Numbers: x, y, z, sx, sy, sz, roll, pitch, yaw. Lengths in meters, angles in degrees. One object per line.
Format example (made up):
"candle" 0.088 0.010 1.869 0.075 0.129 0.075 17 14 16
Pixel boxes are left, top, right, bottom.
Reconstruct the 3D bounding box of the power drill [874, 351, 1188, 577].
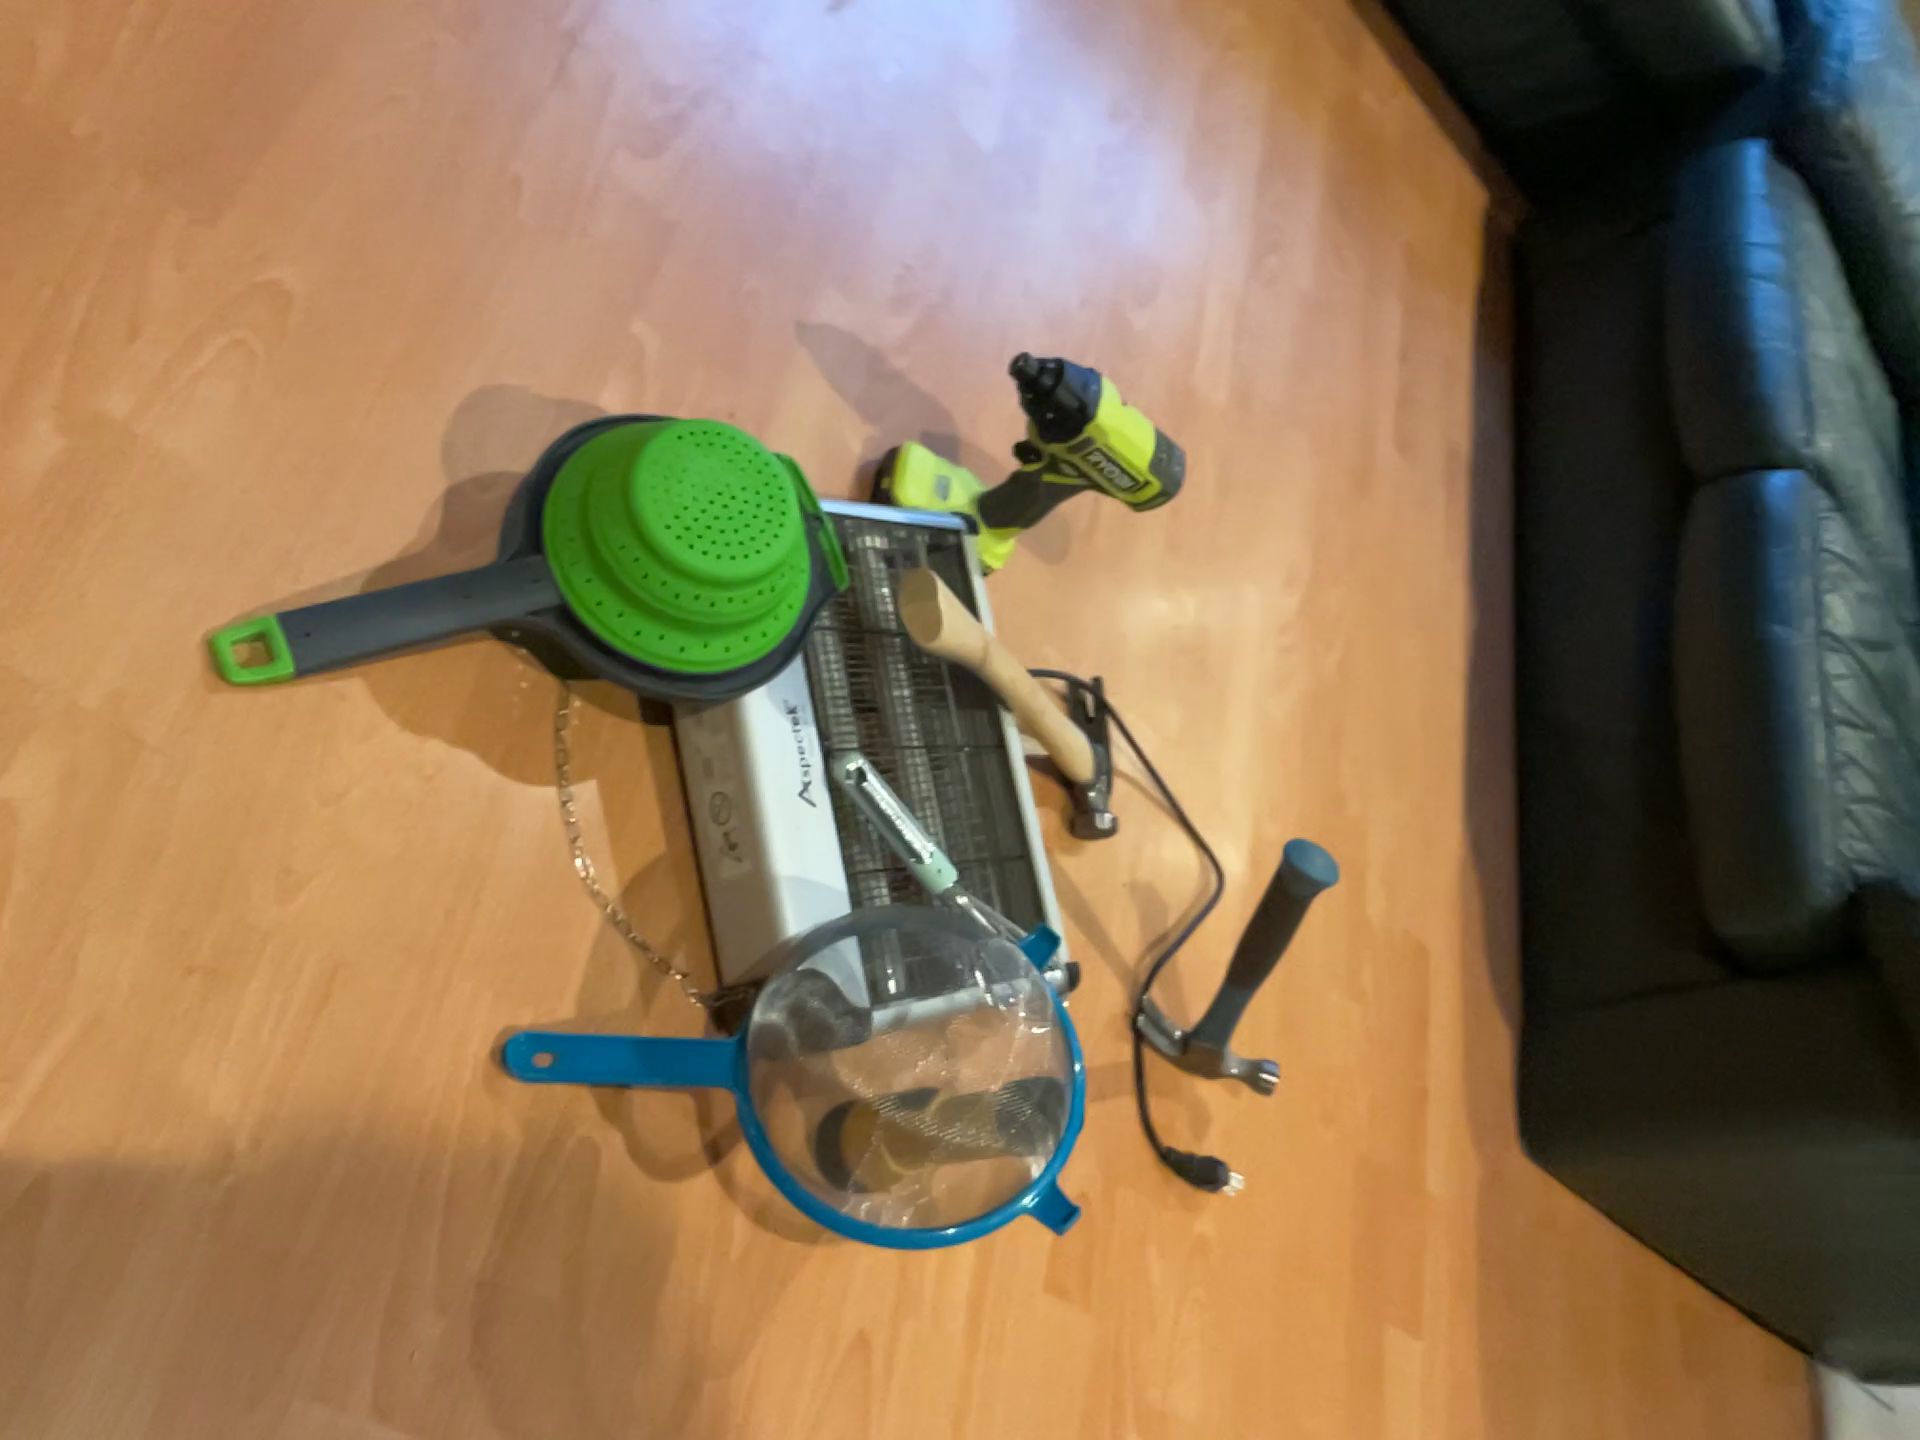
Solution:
"power drill" 0.043 -0.200 1.269 0.171 0.223 0.080 33 51 -34

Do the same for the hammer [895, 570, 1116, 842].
"hammer" 0.045 -0.028 1.222 0.410 0.038 0.146 41 43 -61

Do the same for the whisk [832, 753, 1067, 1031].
"whisk" -0.006 0.119 1.091 0.058 0.059 0.246 -42 104 -17

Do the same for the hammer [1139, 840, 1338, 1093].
"hammer" 0.227 0.196 1.254 0.128 0.330 0.033 17 52 4

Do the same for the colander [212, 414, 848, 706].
"colander" -0.231 -0.097 0.957 0.397 0.094 0.204 -18 80 -33

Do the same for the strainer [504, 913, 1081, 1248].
"strainer" -0.089 0.184 0.924 0.340 0.095 0.211 4 53 -9
